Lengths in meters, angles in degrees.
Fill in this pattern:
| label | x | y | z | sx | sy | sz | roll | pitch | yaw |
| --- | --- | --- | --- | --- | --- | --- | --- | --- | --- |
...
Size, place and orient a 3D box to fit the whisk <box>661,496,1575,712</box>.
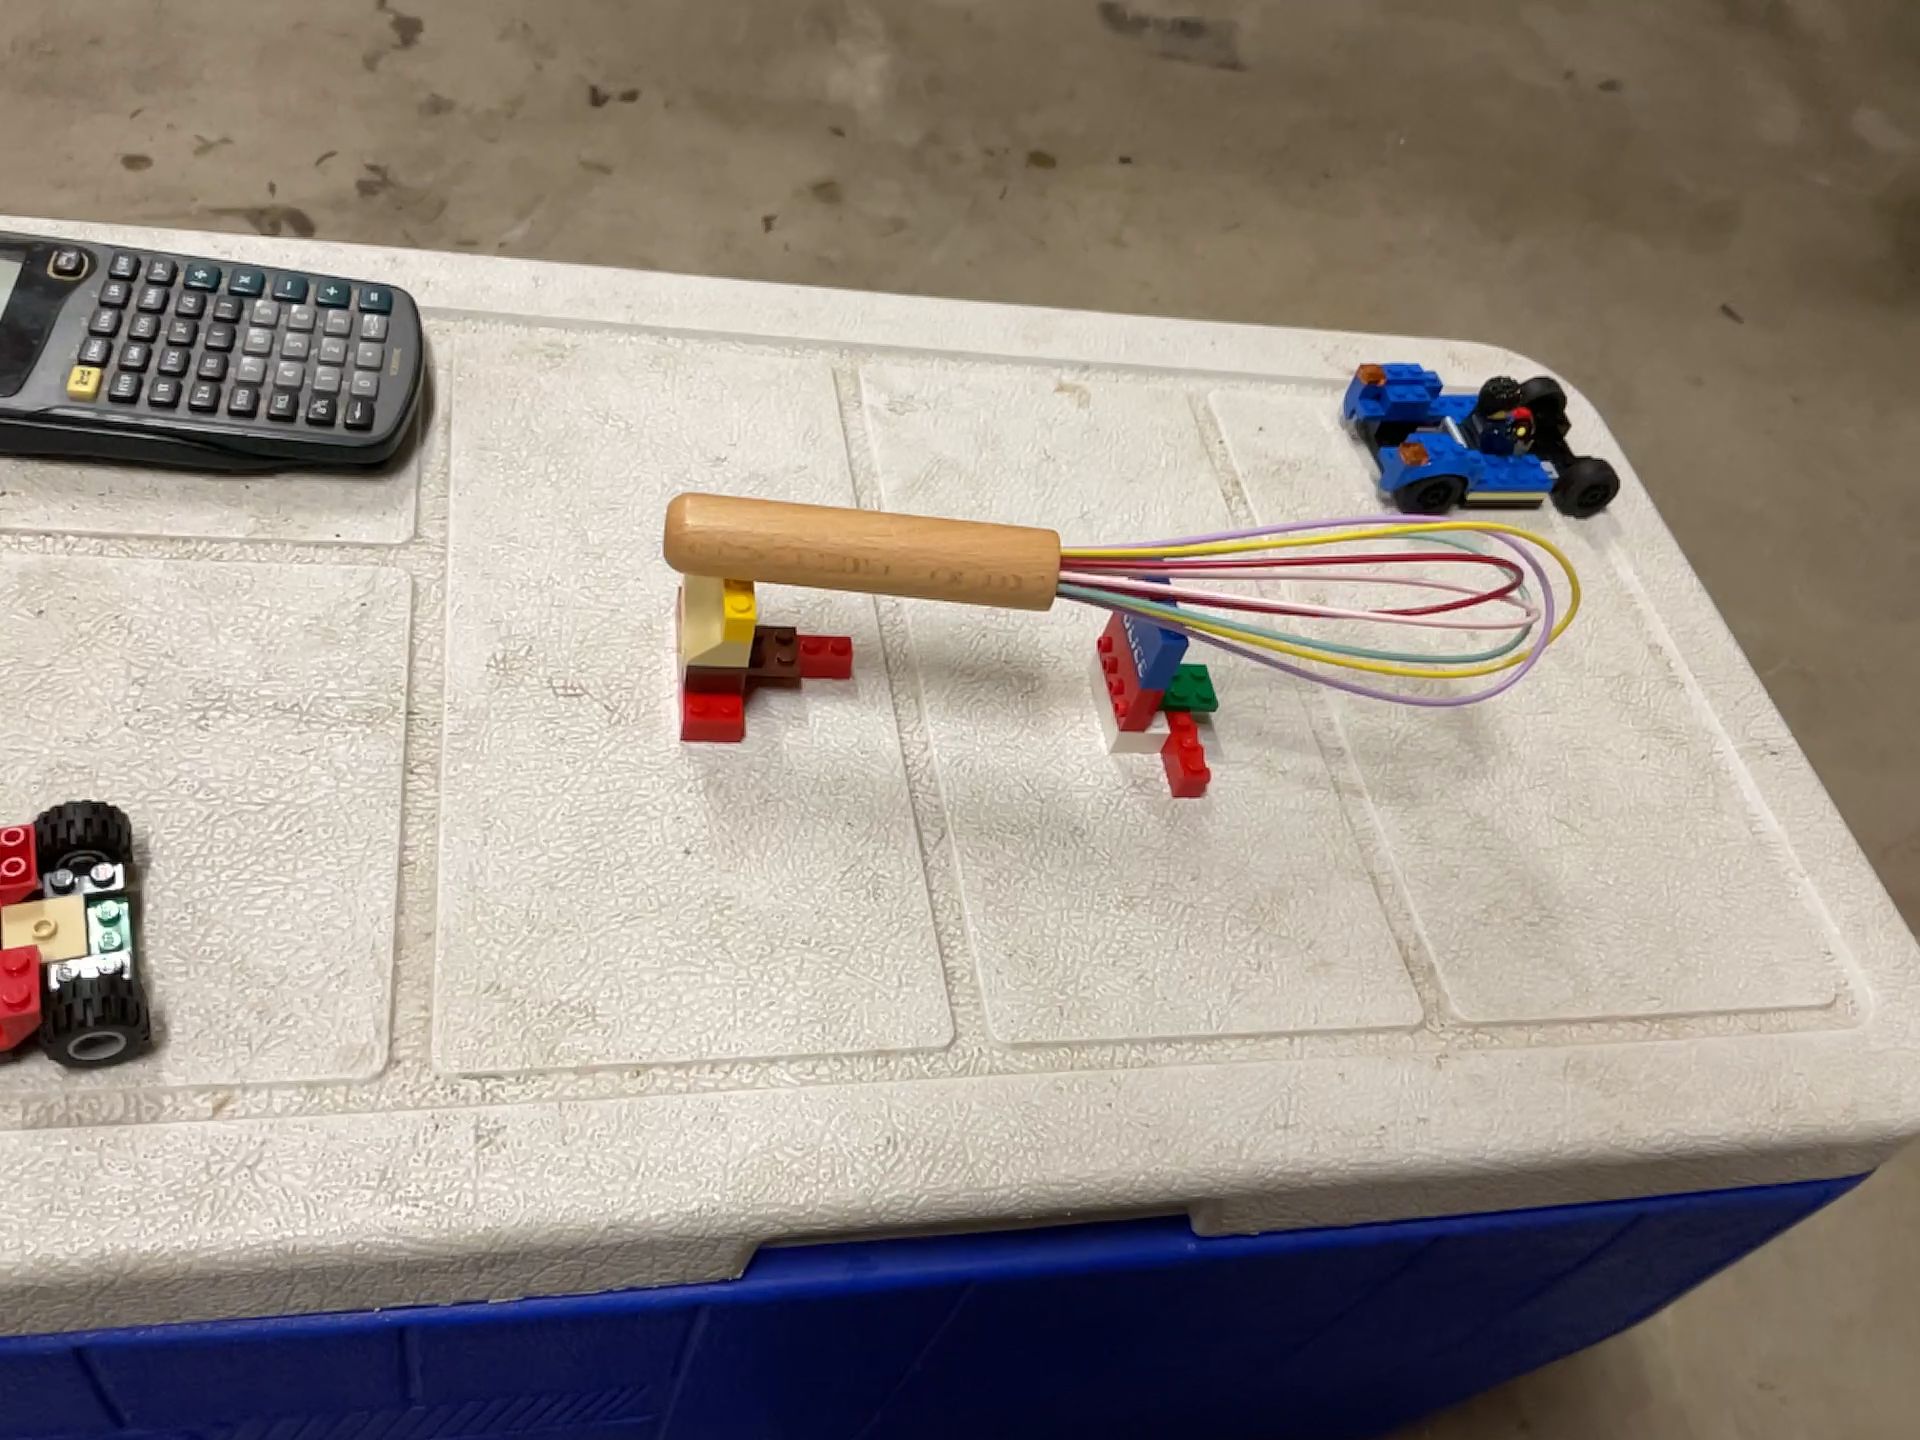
| label | x | y | z | sx | sy | sz | roll | pitch | yaw |
| --- | --- | --- | --- | --- | --- | --- | --- | --- | --- |
| whisk | 0.046 | -0.041 | 0.419 | 0.245 | 0.047 | 0.051 | 5 | 63 | -9 |
